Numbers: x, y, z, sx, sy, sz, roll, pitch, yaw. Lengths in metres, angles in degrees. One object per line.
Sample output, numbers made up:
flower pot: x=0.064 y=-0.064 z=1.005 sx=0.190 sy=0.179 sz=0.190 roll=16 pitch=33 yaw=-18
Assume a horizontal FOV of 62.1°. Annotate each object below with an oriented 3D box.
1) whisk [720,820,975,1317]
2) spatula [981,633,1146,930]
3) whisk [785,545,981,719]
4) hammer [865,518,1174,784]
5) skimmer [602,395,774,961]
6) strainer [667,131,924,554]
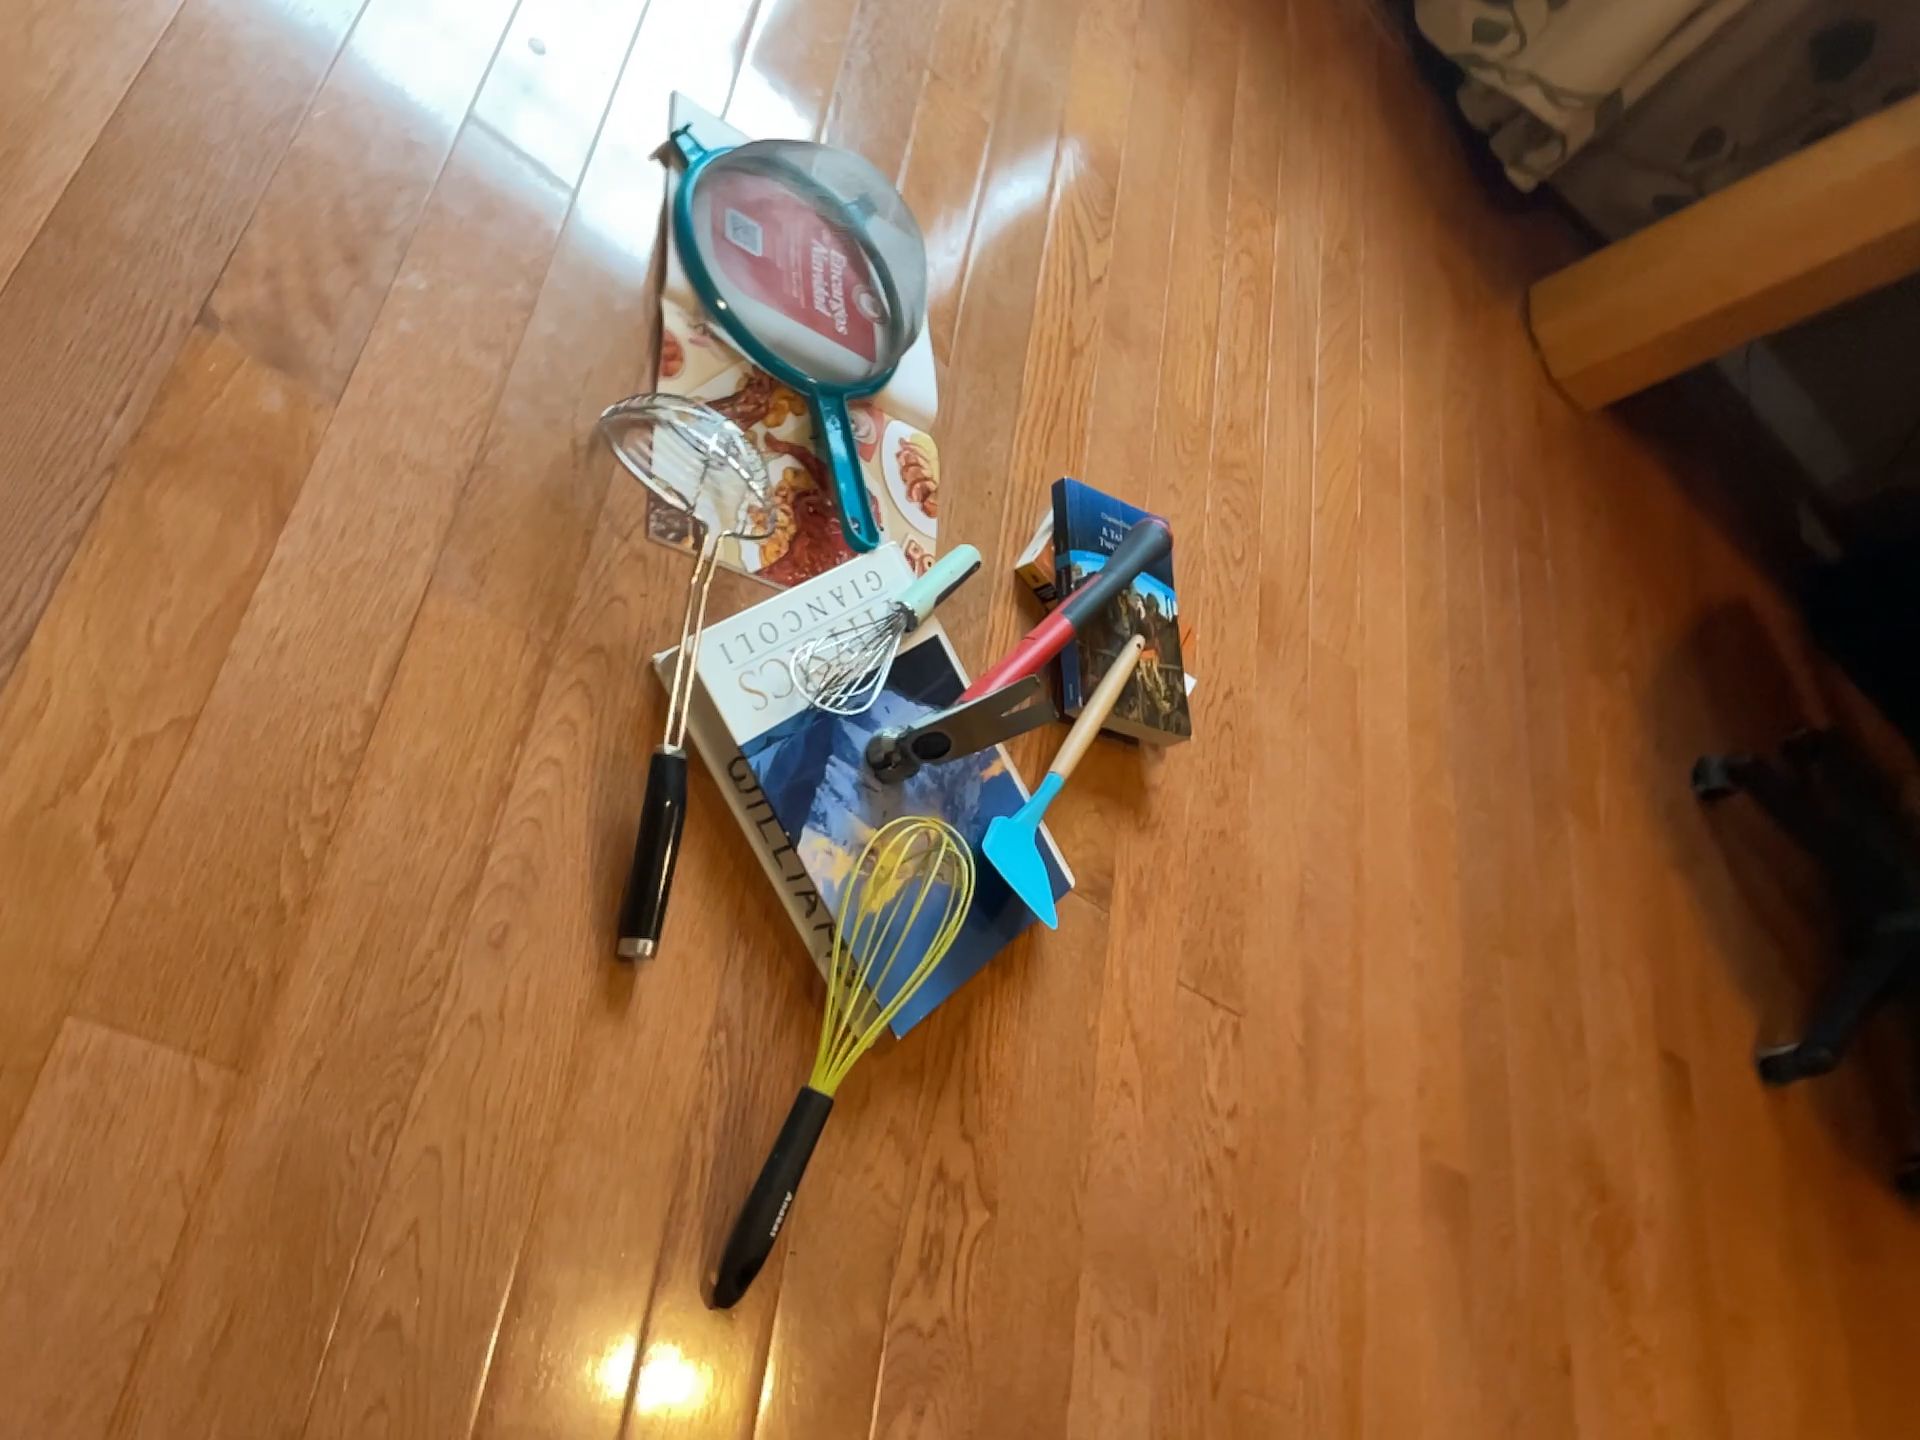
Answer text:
whisk: x=-0.072 y=0.196 z=0.939 sx=0.080 sy=0.067 sz=0.312 roll=47 pitch=57 yaw=-42
spatula: x=0.088 y=0.025 z=1.165 sx=0.082 sy=0.044 sz=0.318 roll=49 pitch=44 yaw=-15
whisk: x=-0.043 y=-0.065 z=1.078 sx=0.059 sy=0.057 sz=0.247 roll=32 pitch=38 yaw=9
hammer: x=0.083 y=-0.071 z=1.147 sx=0.038 sy=0.143 sz=0.387 roll=60 pitch=39 yaw=-11
skimmer: x=-0.184 y=-0.034 z=0.979 sx=0.127 sy=0.090 sz=0.364 roll=21 pitch=68 yaw=-41
strainer: x=-0.081 y=-0.287 z=1.142 sx=0.211 sy=0.095 sz=0.341 roll=6 pitch=61 yaw=-45
